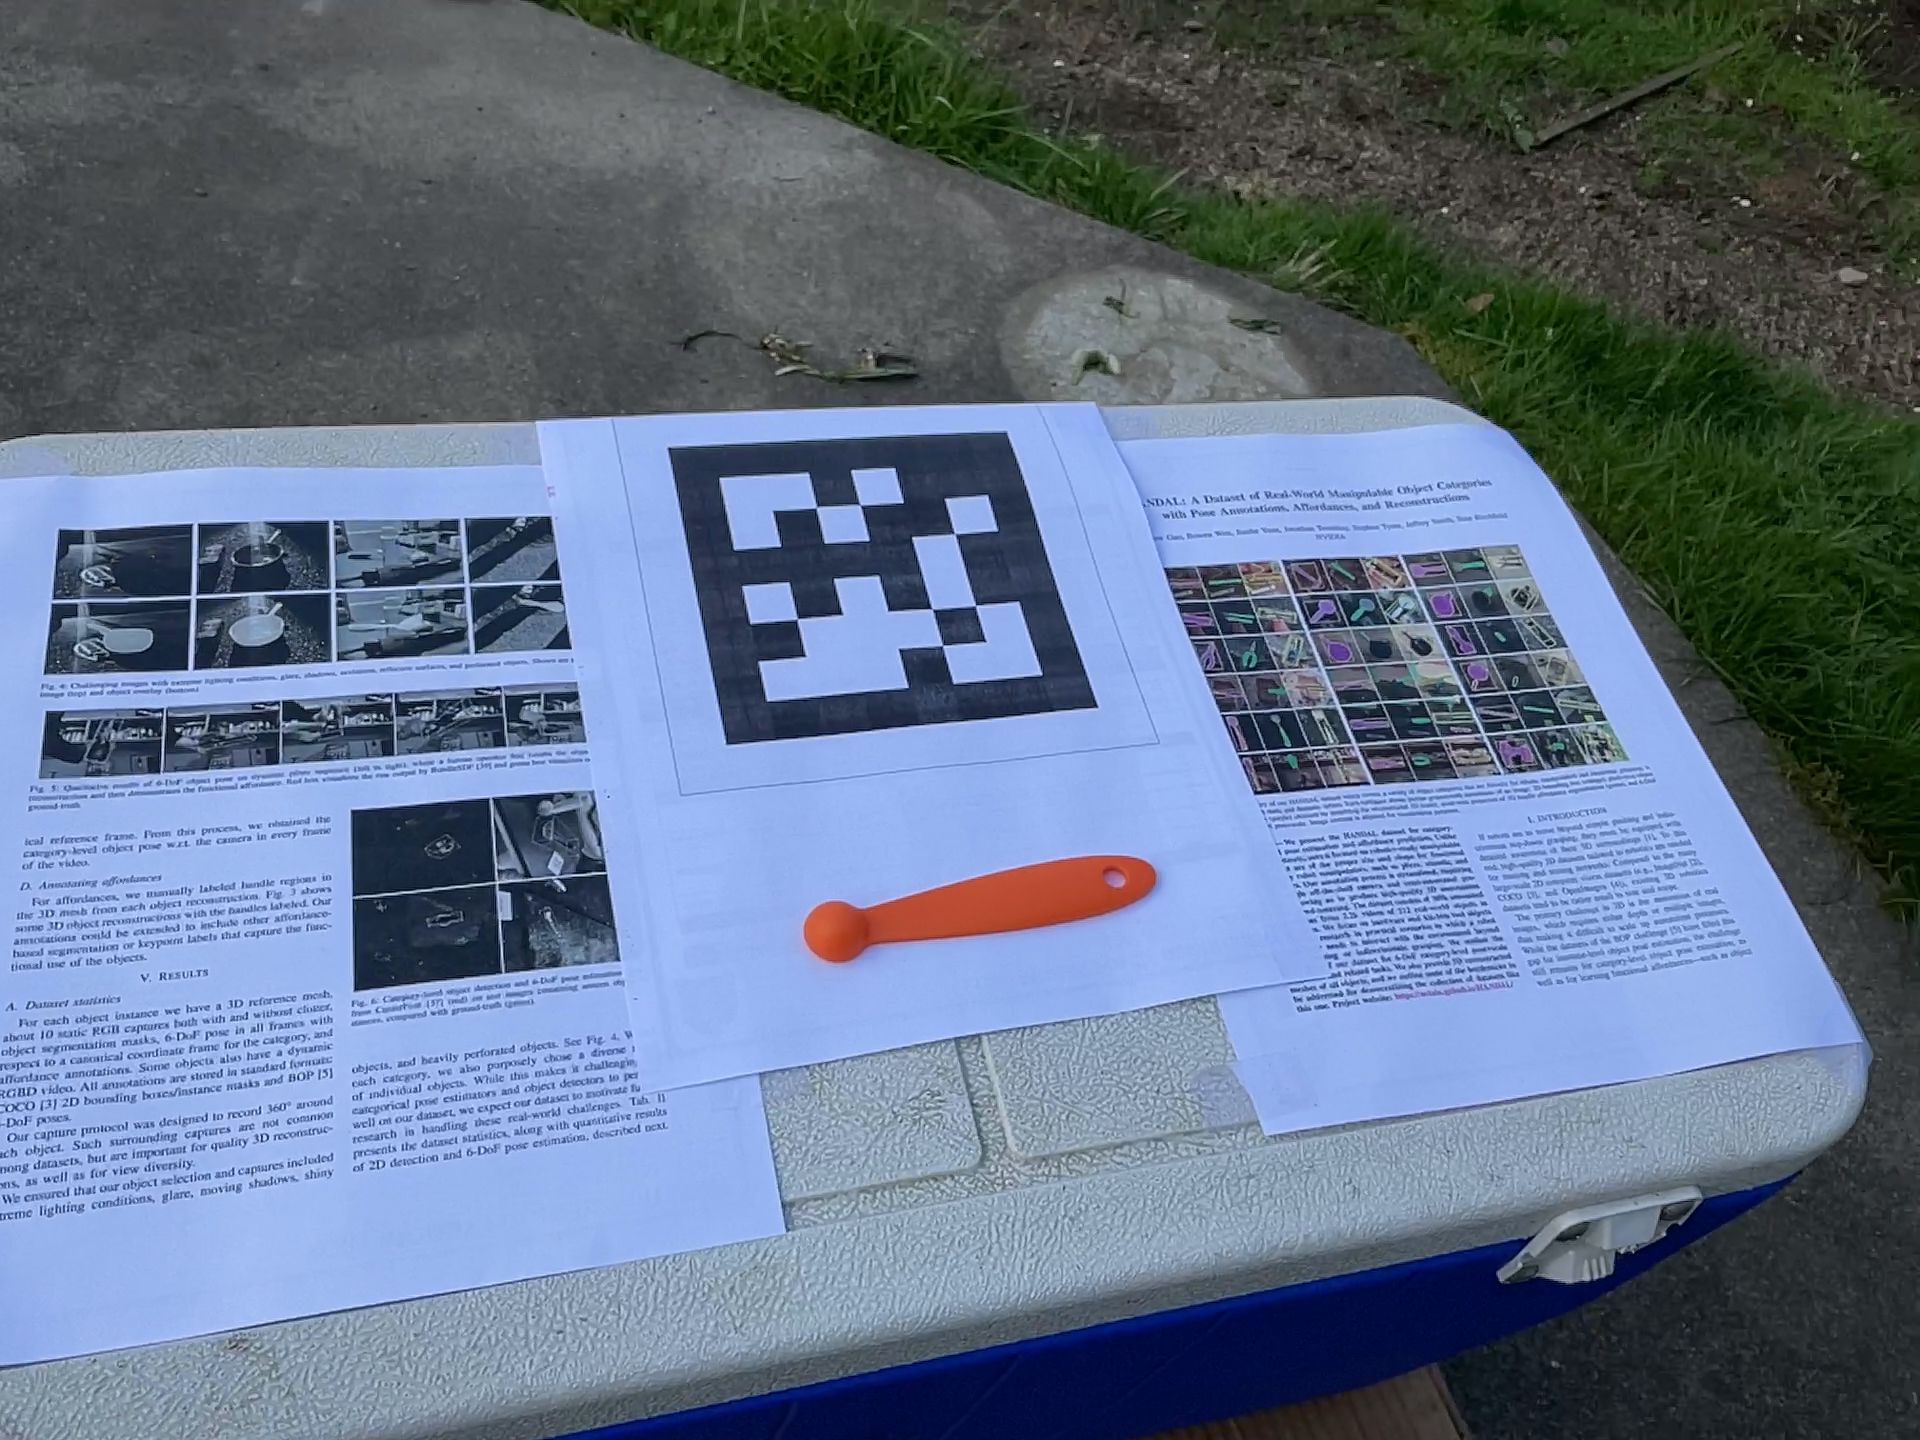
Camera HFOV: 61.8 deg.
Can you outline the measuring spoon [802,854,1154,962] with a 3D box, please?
[{"bbox_3d":[0.008,0.055,0.495,0.117,0.011,0.021,-8,62,-20],"label":"measuring spoon"}]
